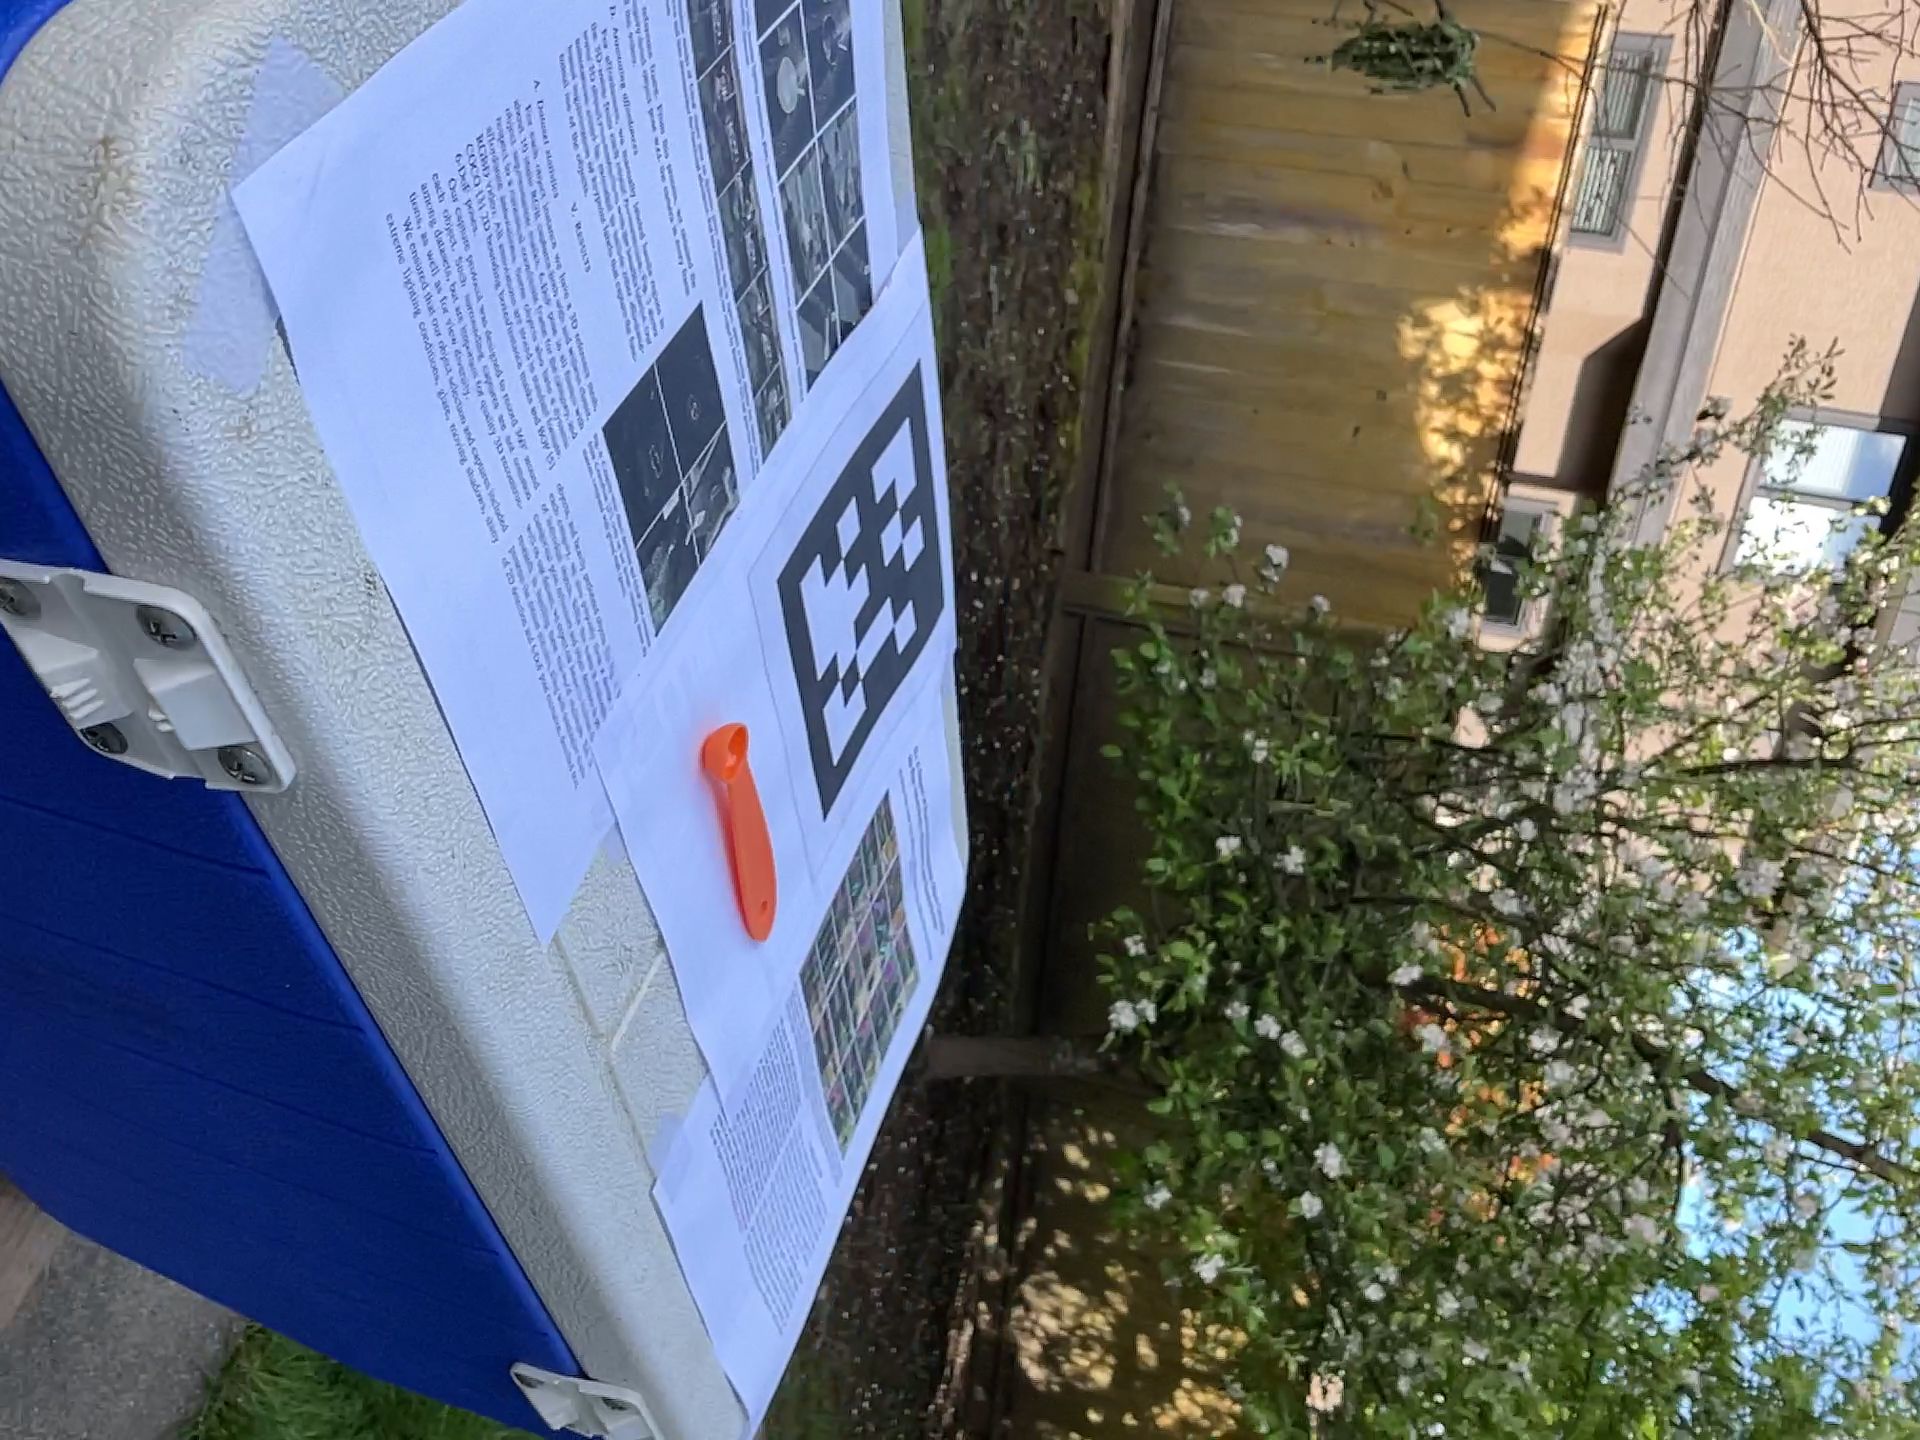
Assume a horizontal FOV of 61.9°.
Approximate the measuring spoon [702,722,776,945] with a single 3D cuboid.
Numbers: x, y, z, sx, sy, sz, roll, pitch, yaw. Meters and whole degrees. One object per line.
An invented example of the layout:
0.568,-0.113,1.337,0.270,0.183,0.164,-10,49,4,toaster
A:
-0.073,0.040,0.530,0.116,0.011,0.021,89,19,-51,measuring spoon
